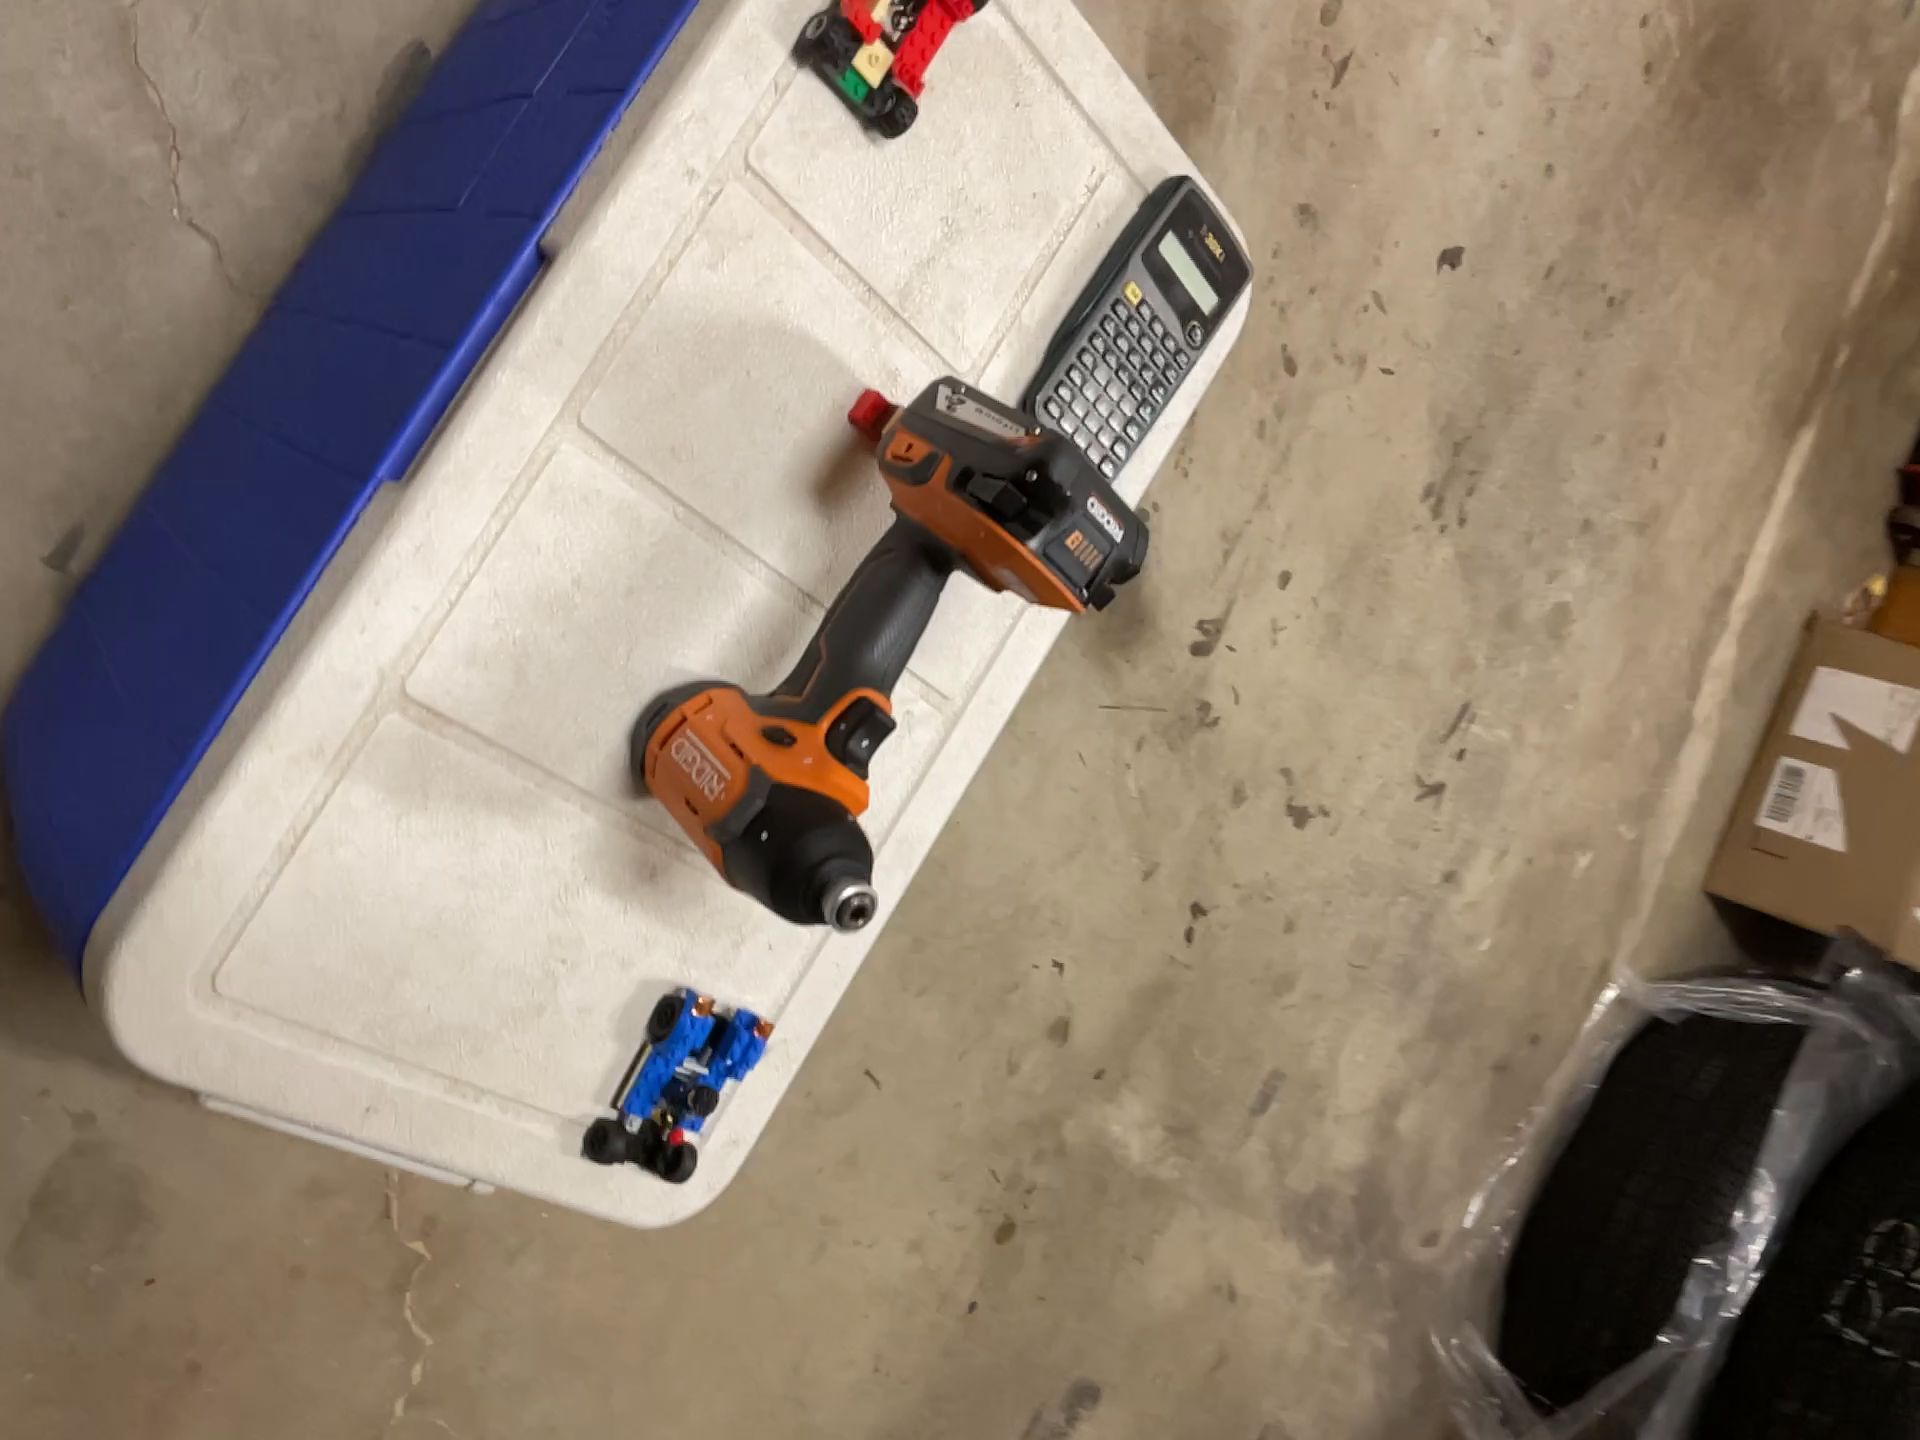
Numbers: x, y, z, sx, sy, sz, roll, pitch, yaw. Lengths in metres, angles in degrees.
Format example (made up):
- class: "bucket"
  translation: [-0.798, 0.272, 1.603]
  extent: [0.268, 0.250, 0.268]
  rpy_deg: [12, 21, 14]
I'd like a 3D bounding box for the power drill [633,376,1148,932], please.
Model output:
- class: "power drill"
  translation: [-0.028, -0.022, 0.673]
  extent: [0.226, 0.164, 0.084]
  rpy_deg: [-50, 132, 0]
